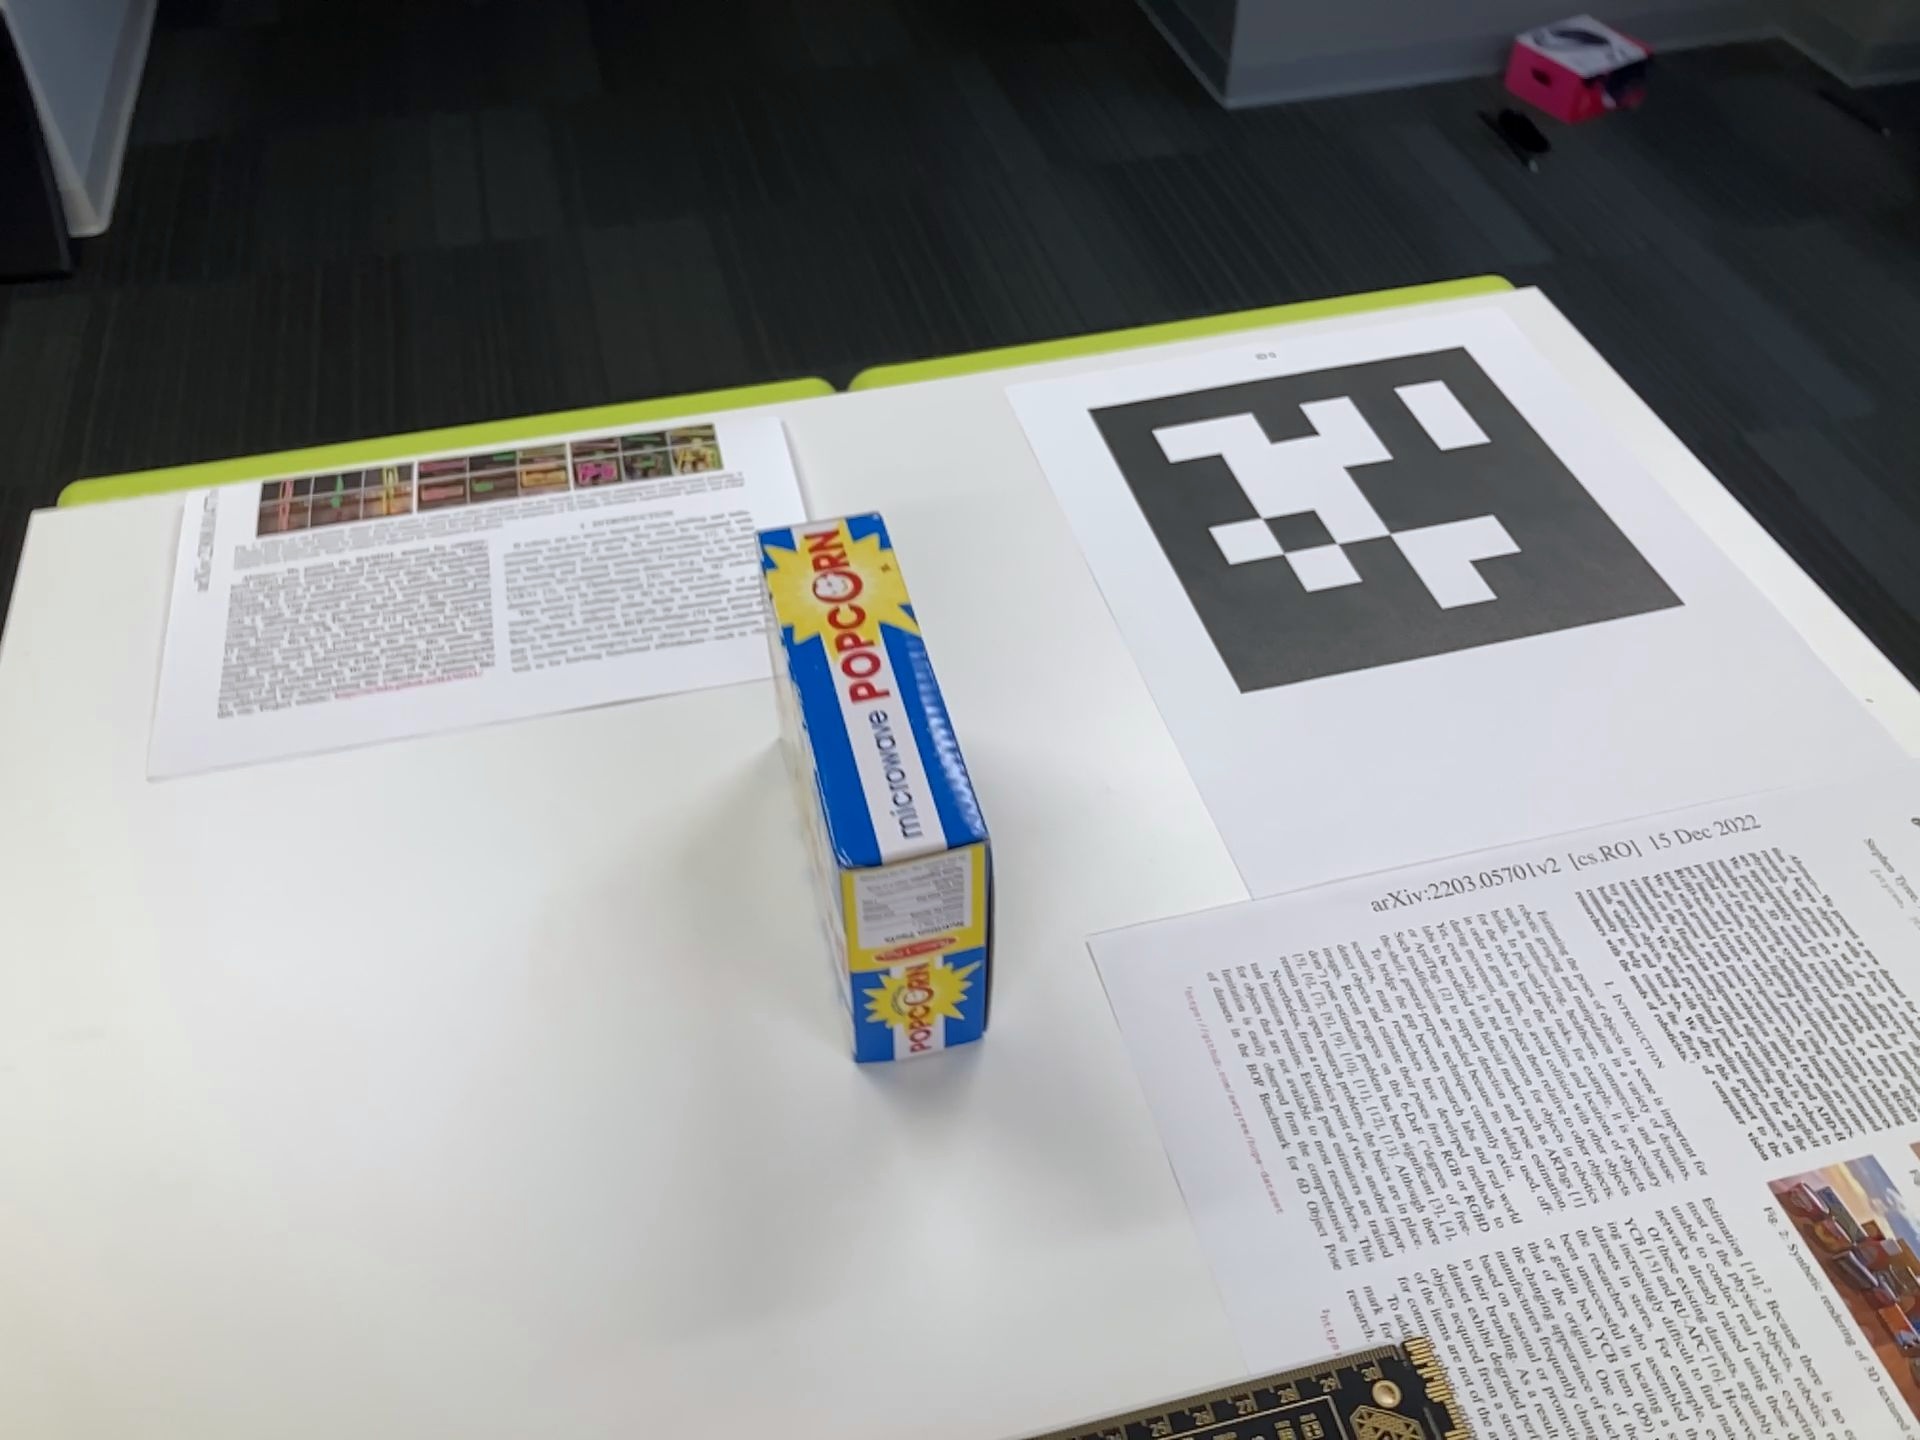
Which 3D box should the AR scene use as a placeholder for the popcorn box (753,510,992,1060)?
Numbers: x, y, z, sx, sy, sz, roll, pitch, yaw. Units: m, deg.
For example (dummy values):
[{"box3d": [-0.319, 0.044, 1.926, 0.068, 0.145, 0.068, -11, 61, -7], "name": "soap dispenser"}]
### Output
[{"box3d": [-0.025, 0.016, 0.434, 0.038, 0.085, 0.126, -11, 48, -9], "name": "popcorn box"}]
